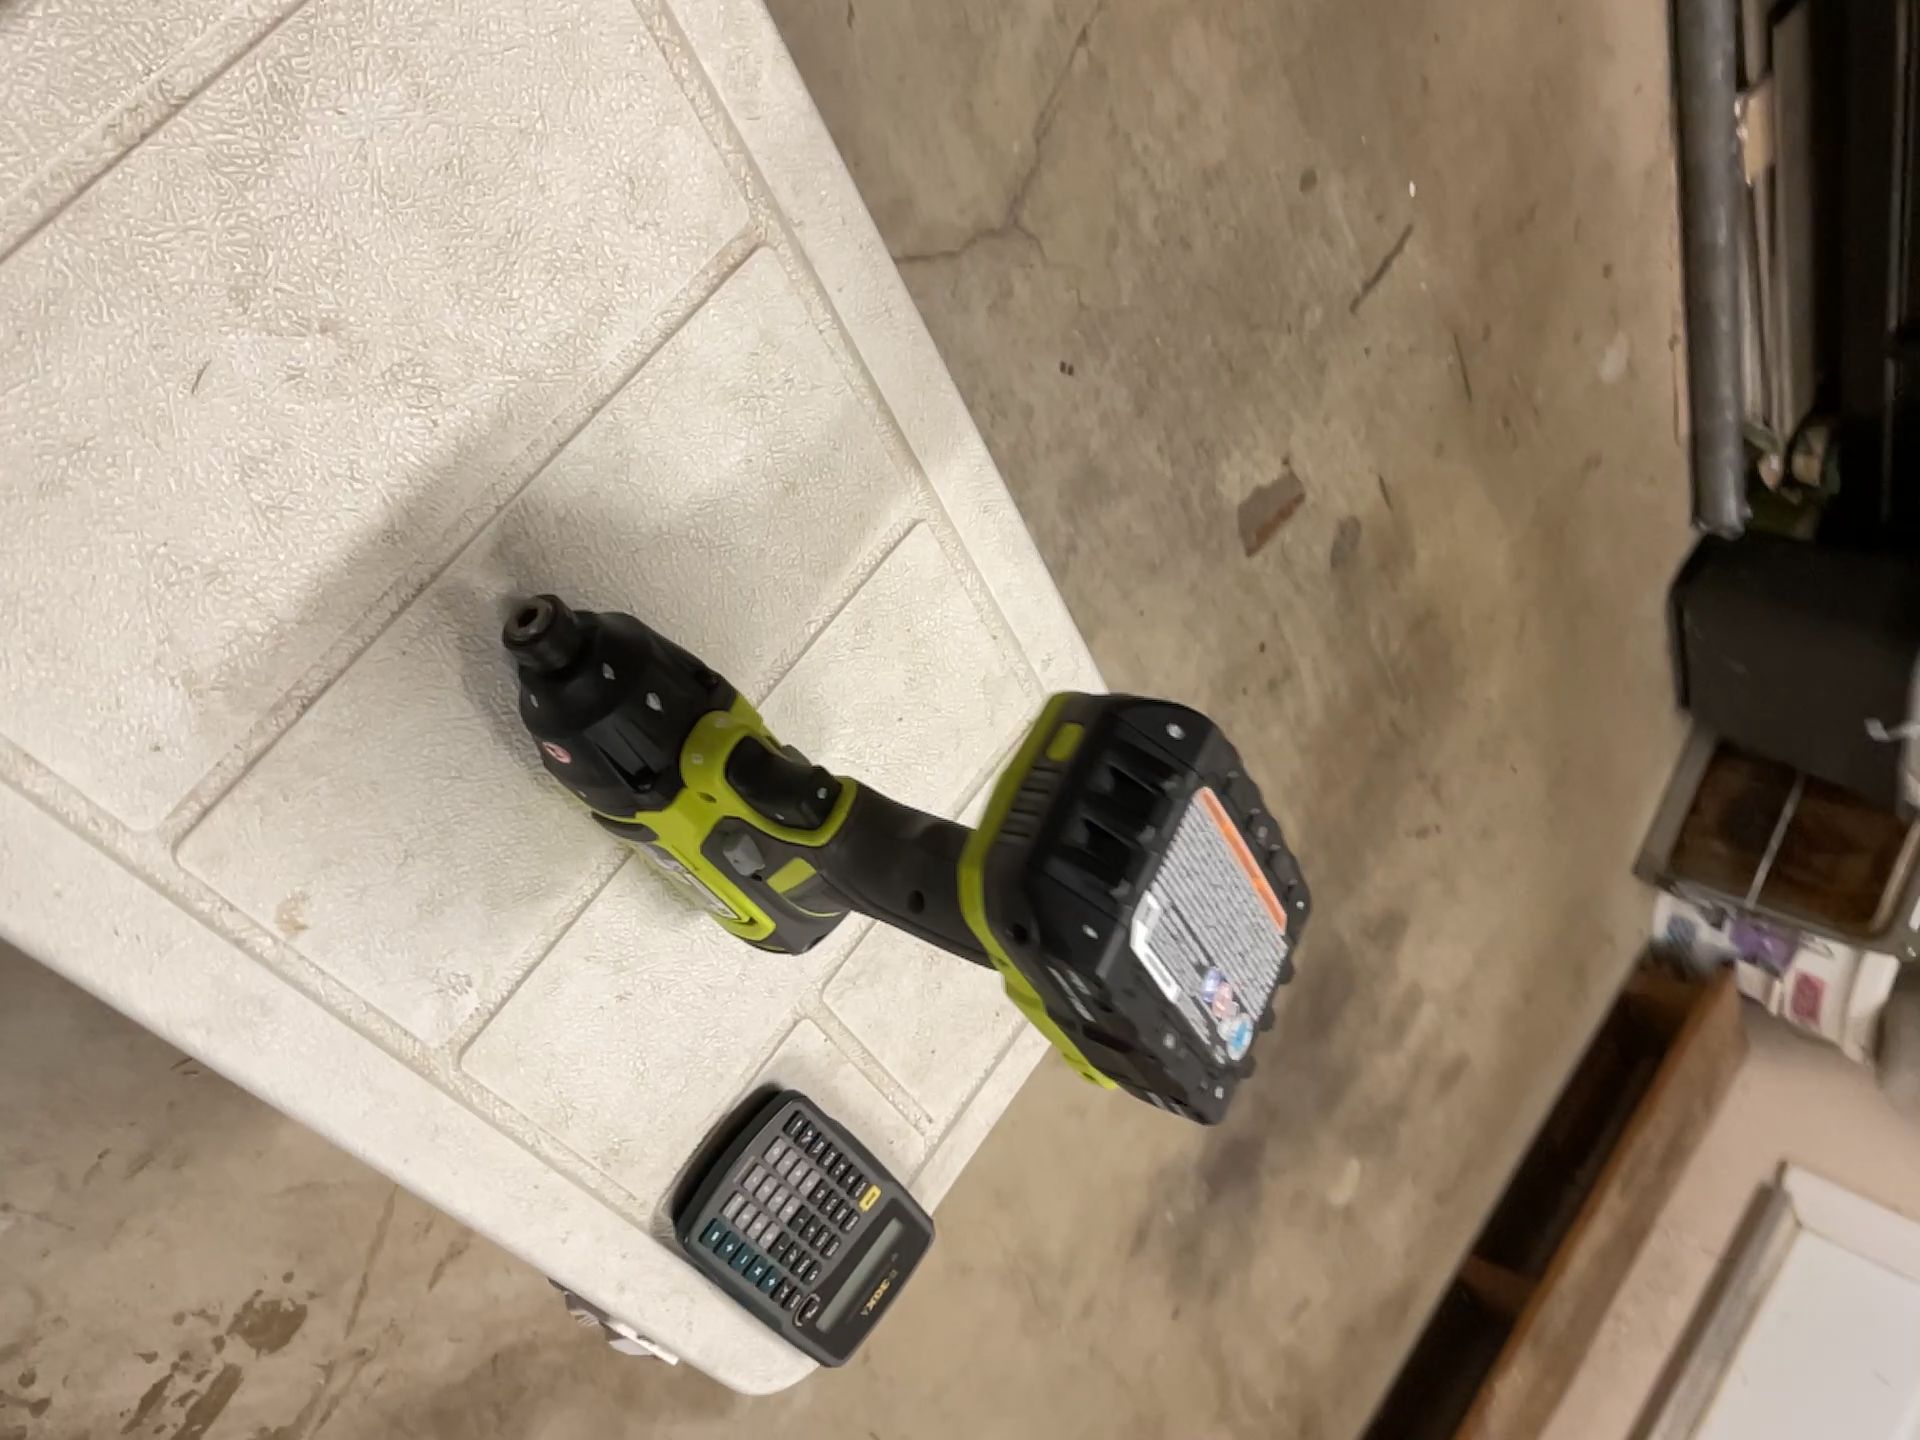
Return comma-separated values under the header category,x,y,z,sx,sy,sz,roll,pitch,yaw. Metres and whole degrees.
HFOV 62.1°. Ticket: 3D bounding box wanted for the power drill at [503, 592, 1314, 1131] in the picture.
category,x,y,z,sx,sy,sz,roll,pitch,yaw
power drill,-0.024,0.033,0.472,0.080,0.223,0.171,-61,142,-22
